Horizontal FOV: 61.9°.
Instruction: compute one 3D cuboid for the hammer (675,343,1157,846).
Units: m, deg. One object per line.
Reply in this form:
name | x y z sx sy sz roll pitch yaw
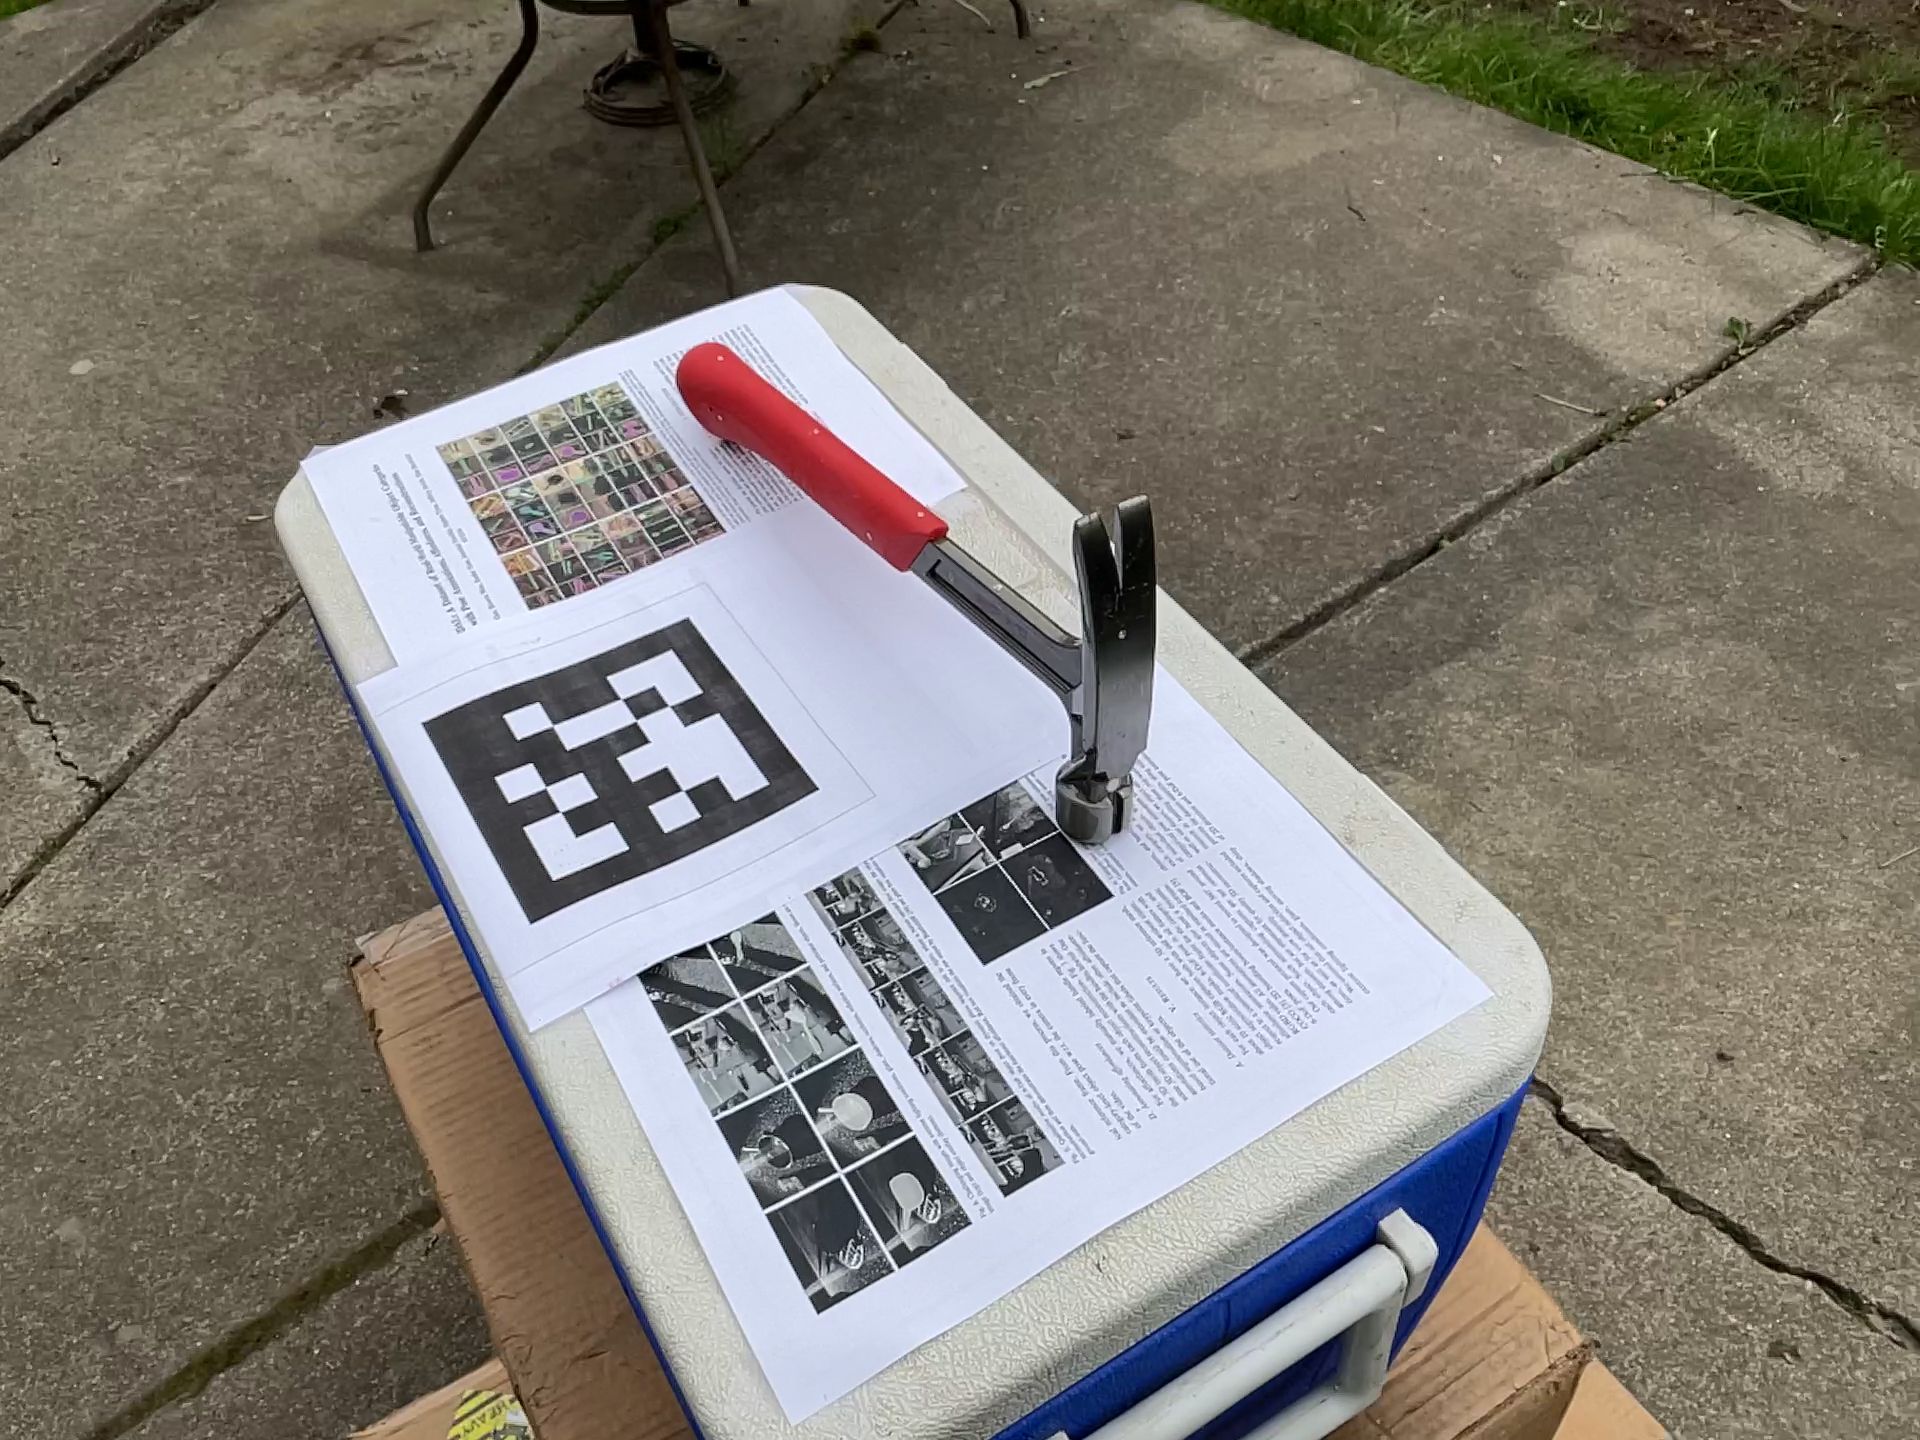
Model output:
hammer | -0.036 -0.098 0.704 0.036 0.149 0.359 -23 43 -24
